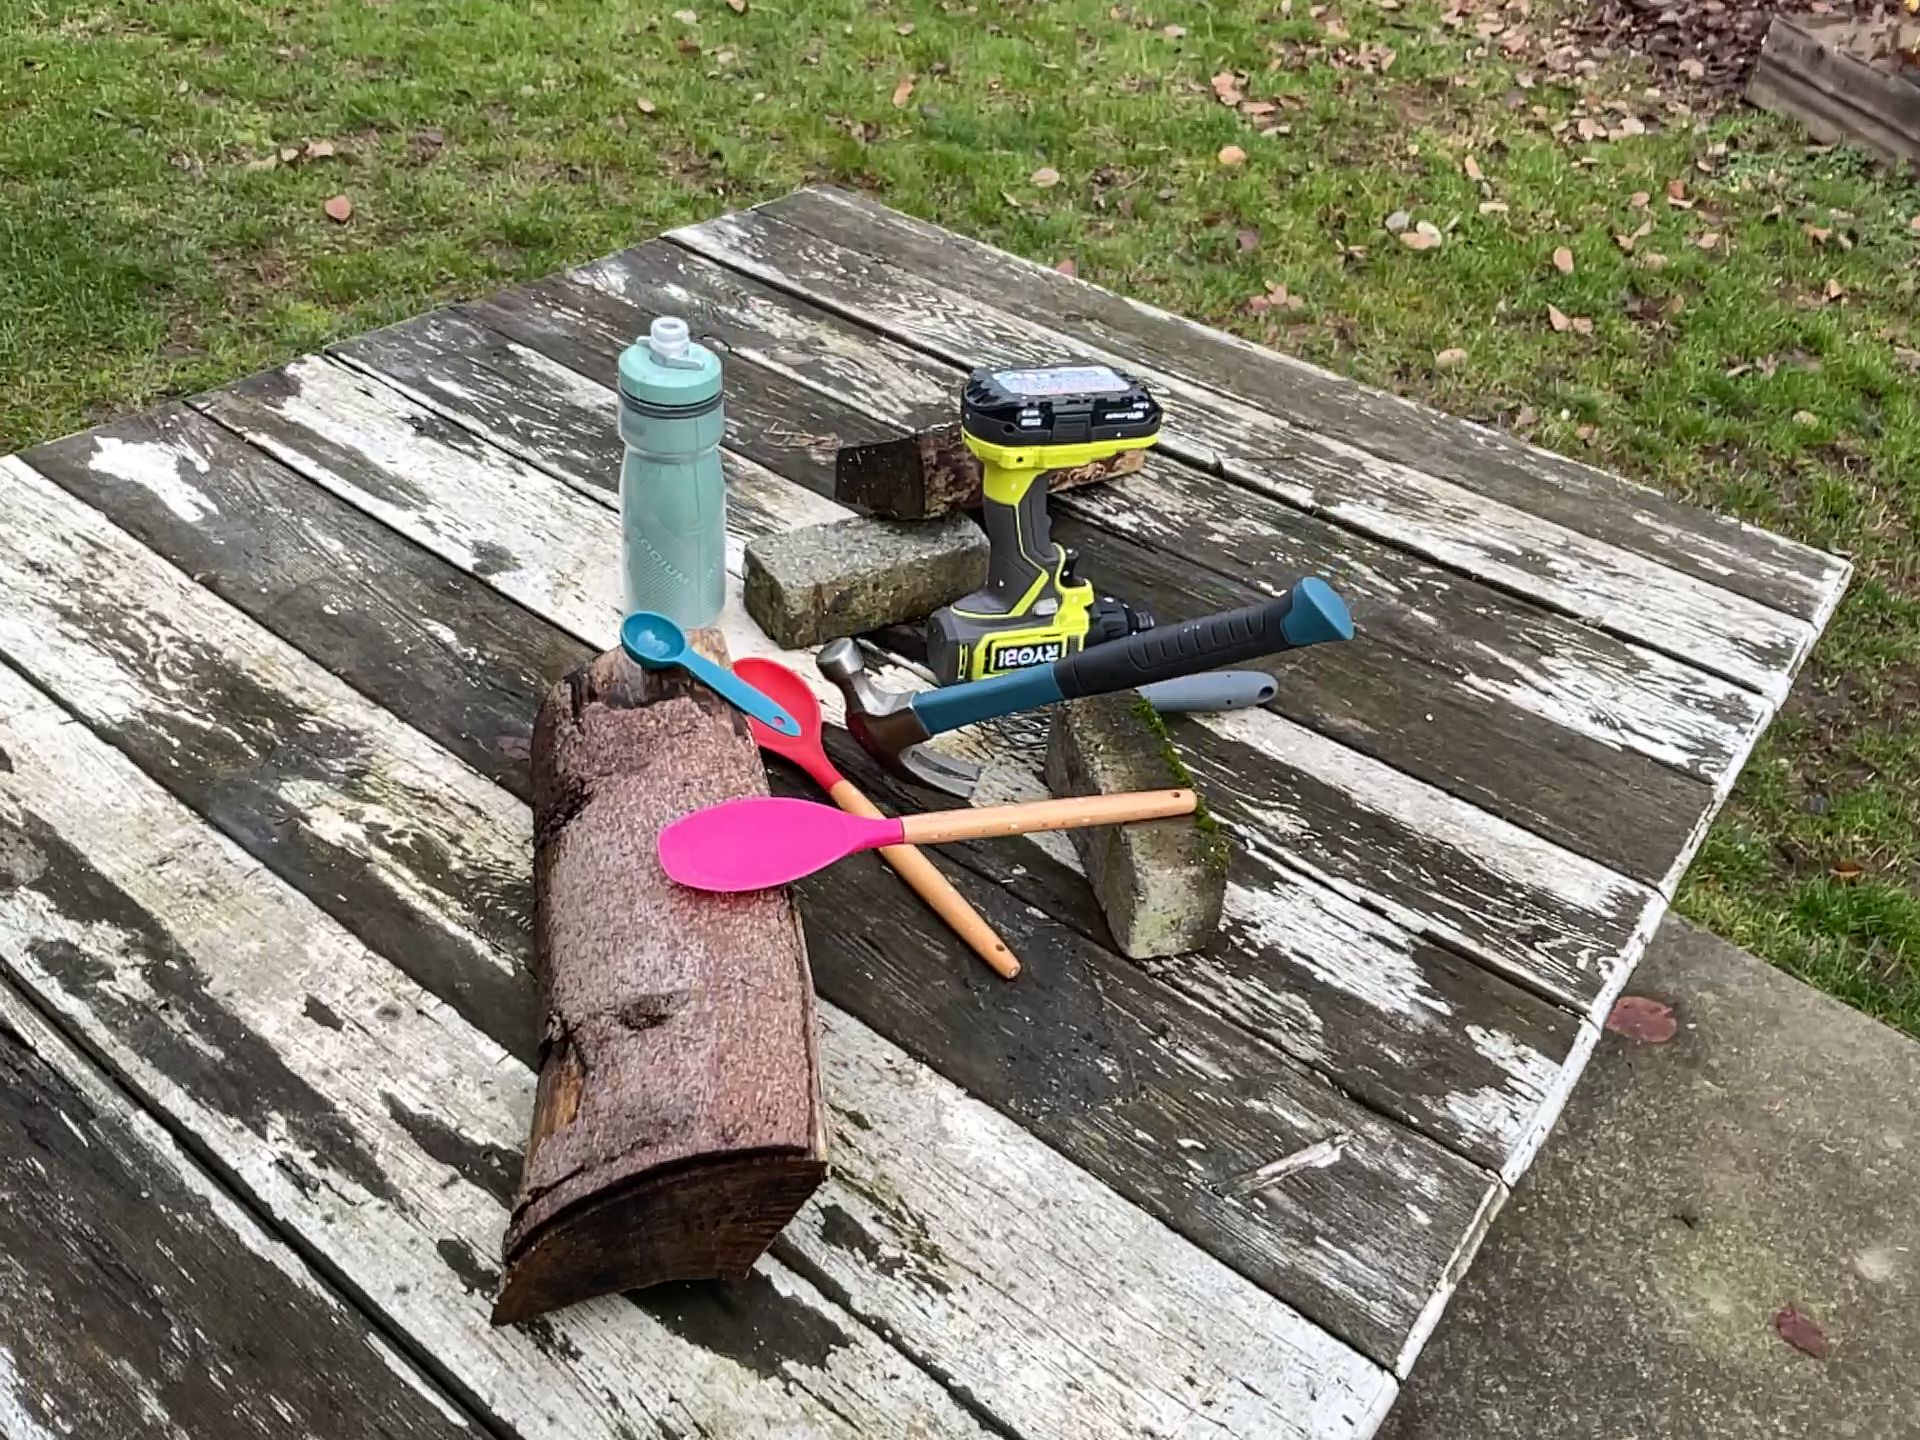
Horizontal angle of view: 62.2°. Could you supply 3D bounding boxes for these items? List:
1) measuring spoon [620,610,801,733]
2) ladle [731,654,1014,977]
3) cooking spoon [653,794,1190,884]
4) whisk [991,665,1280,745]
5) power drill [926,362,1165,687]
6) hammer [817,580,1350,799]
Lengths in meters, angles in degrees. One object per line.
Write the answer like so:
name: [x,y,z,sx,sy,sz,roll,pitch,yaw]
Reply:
measuring spoon: [-0.157,-0.023,0.992,0.128,0.021,0.042,33,40,-3]
ladle: [-0.064,0.057,1.029,0.069,0.031,0.316,-19,47,-33]
cooking spoon: [-0.013,0.061,0.901,0.318,0.017,0.069,-4,38,-20]
whisk: [0.125,-0.018,1.130,0.238,0.055,0.055,-7,48,-22]
power drill: [0.069,-0.134,1.136,0.171,0.223,0.080,-7,32,-20]
hammer: [0.077,-0.029,1.000,0.331,0.128,0.033,-14,32,27]
